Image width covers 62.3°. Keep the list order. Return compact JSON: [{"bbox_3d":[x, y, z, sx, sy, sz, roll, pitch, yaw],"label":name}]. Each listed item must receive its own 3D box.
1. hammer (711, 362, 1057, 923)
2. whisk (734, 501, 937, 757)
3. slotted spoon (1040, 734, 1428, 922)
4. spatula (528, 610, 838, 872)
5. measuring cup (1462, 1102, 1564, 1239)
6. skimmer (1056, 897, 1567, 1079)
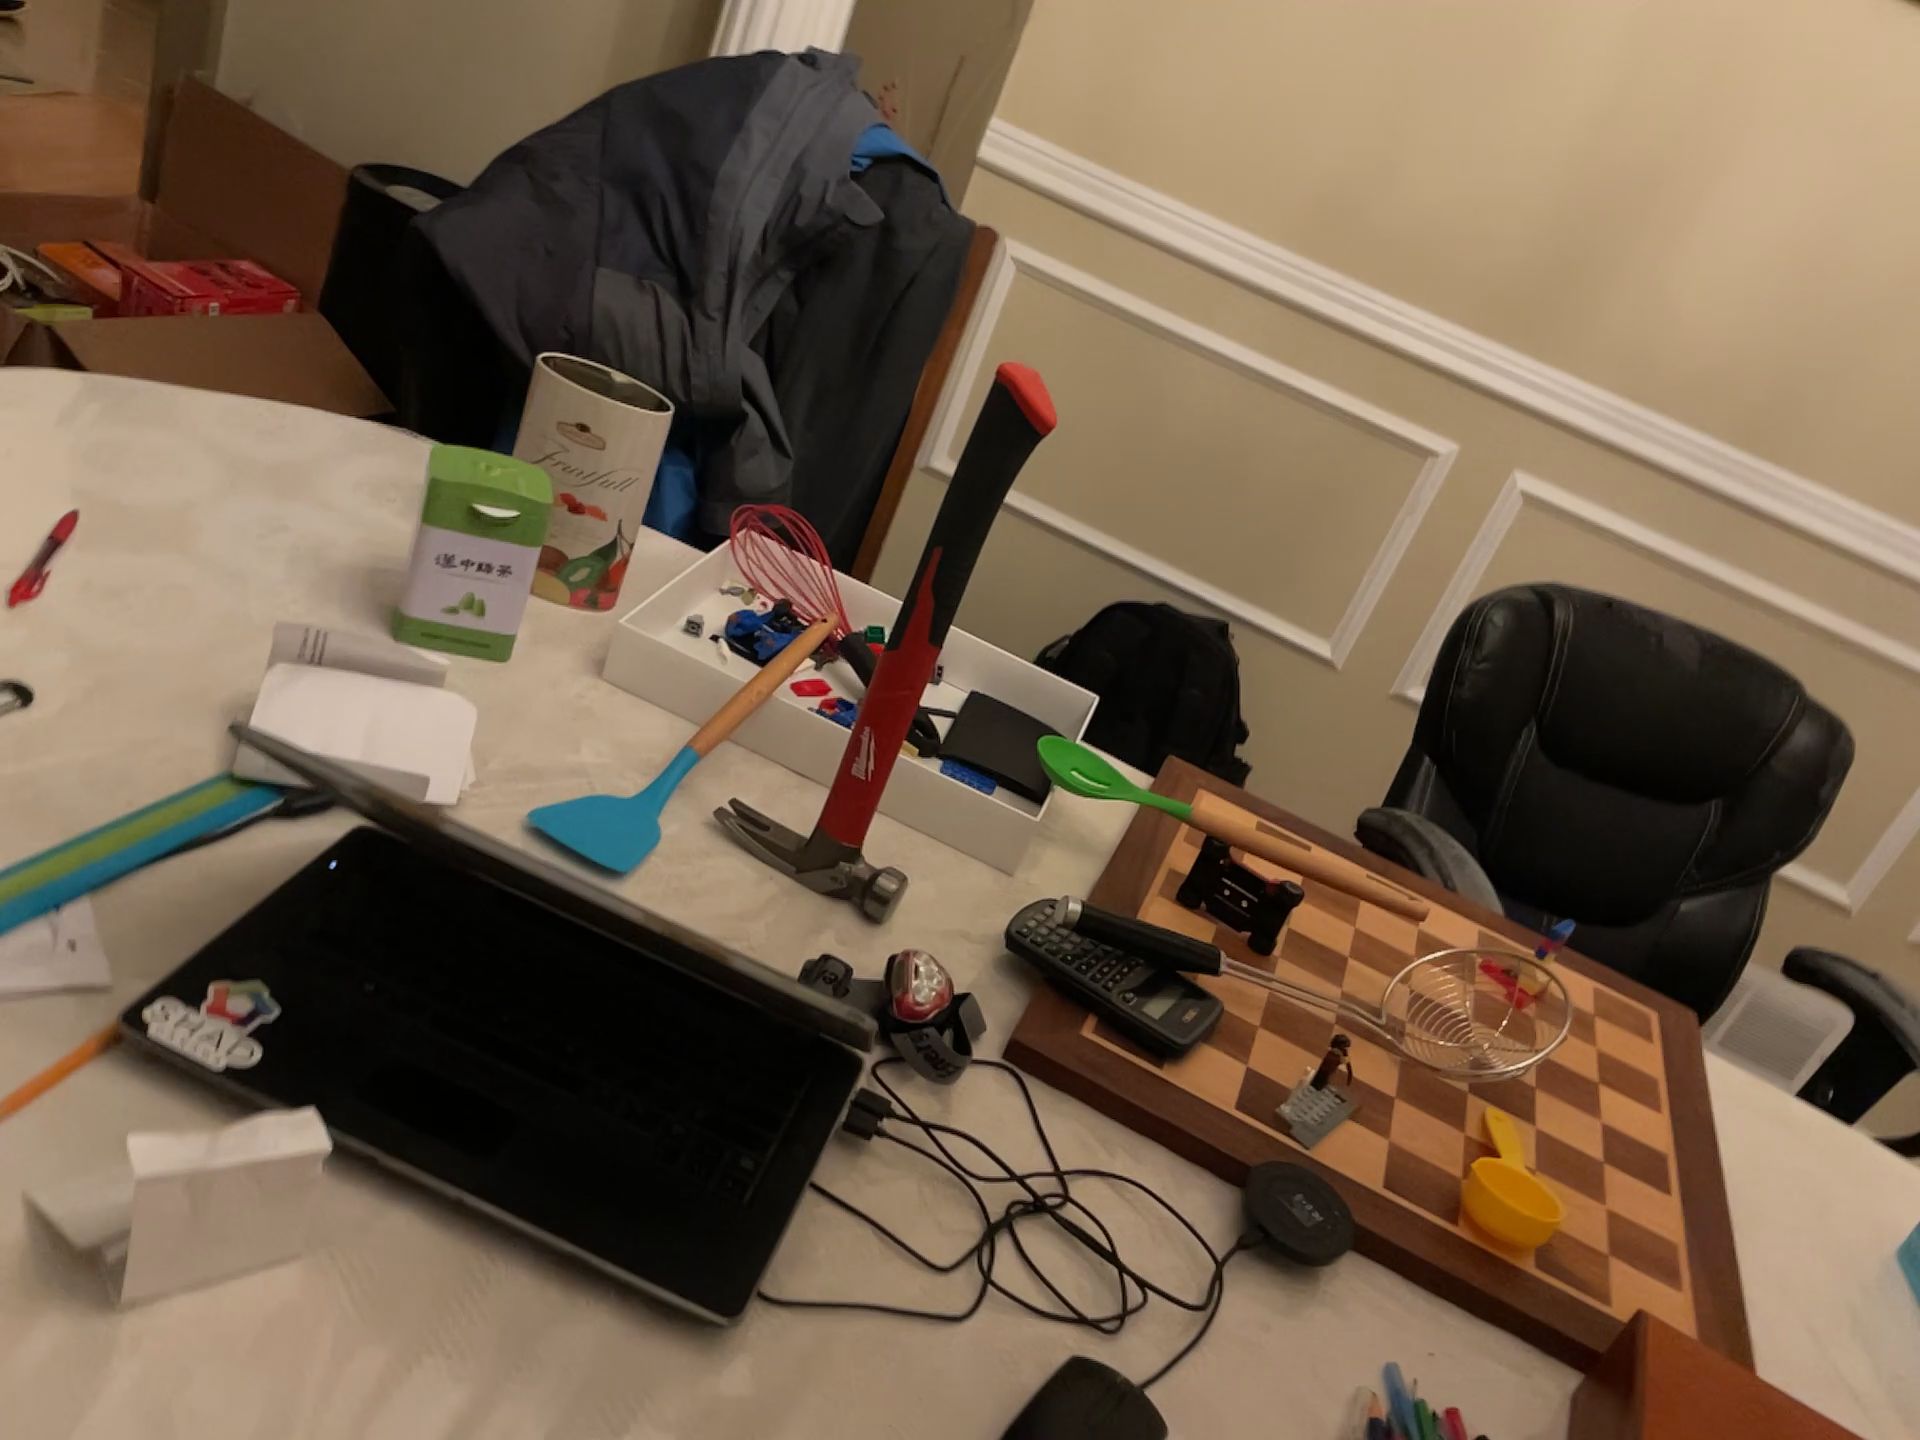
[{"bbox_3d":[-0.044,-0.053,1.021,0.143,0.386,0.038,28,27,11],"label":"hammer"},{"bbox_3d":[-0.107,-0.081,1.357,0.073,0.073,0.296,-23,63,-32],"label":"whisk"},{"bbox_3d":[0.198,0.083,1.192,0.314,0.031,0.070,23,23,21],"label":"slotted spoon"},{"bbox_3d":[-0.175,0.003,1.137,0.082,0.044,0.317,28,48,14],"label":"spatula"},{"bbox_3d":[0.356,0.294,1.048,0.062,0.029,0.156,24,14,9],"label":"measuring cup"},{"bbox_3d":[0.246,0.165,1.105,0.363,0.090,0.127,20,28,-15],"label":"skimmer"}]
